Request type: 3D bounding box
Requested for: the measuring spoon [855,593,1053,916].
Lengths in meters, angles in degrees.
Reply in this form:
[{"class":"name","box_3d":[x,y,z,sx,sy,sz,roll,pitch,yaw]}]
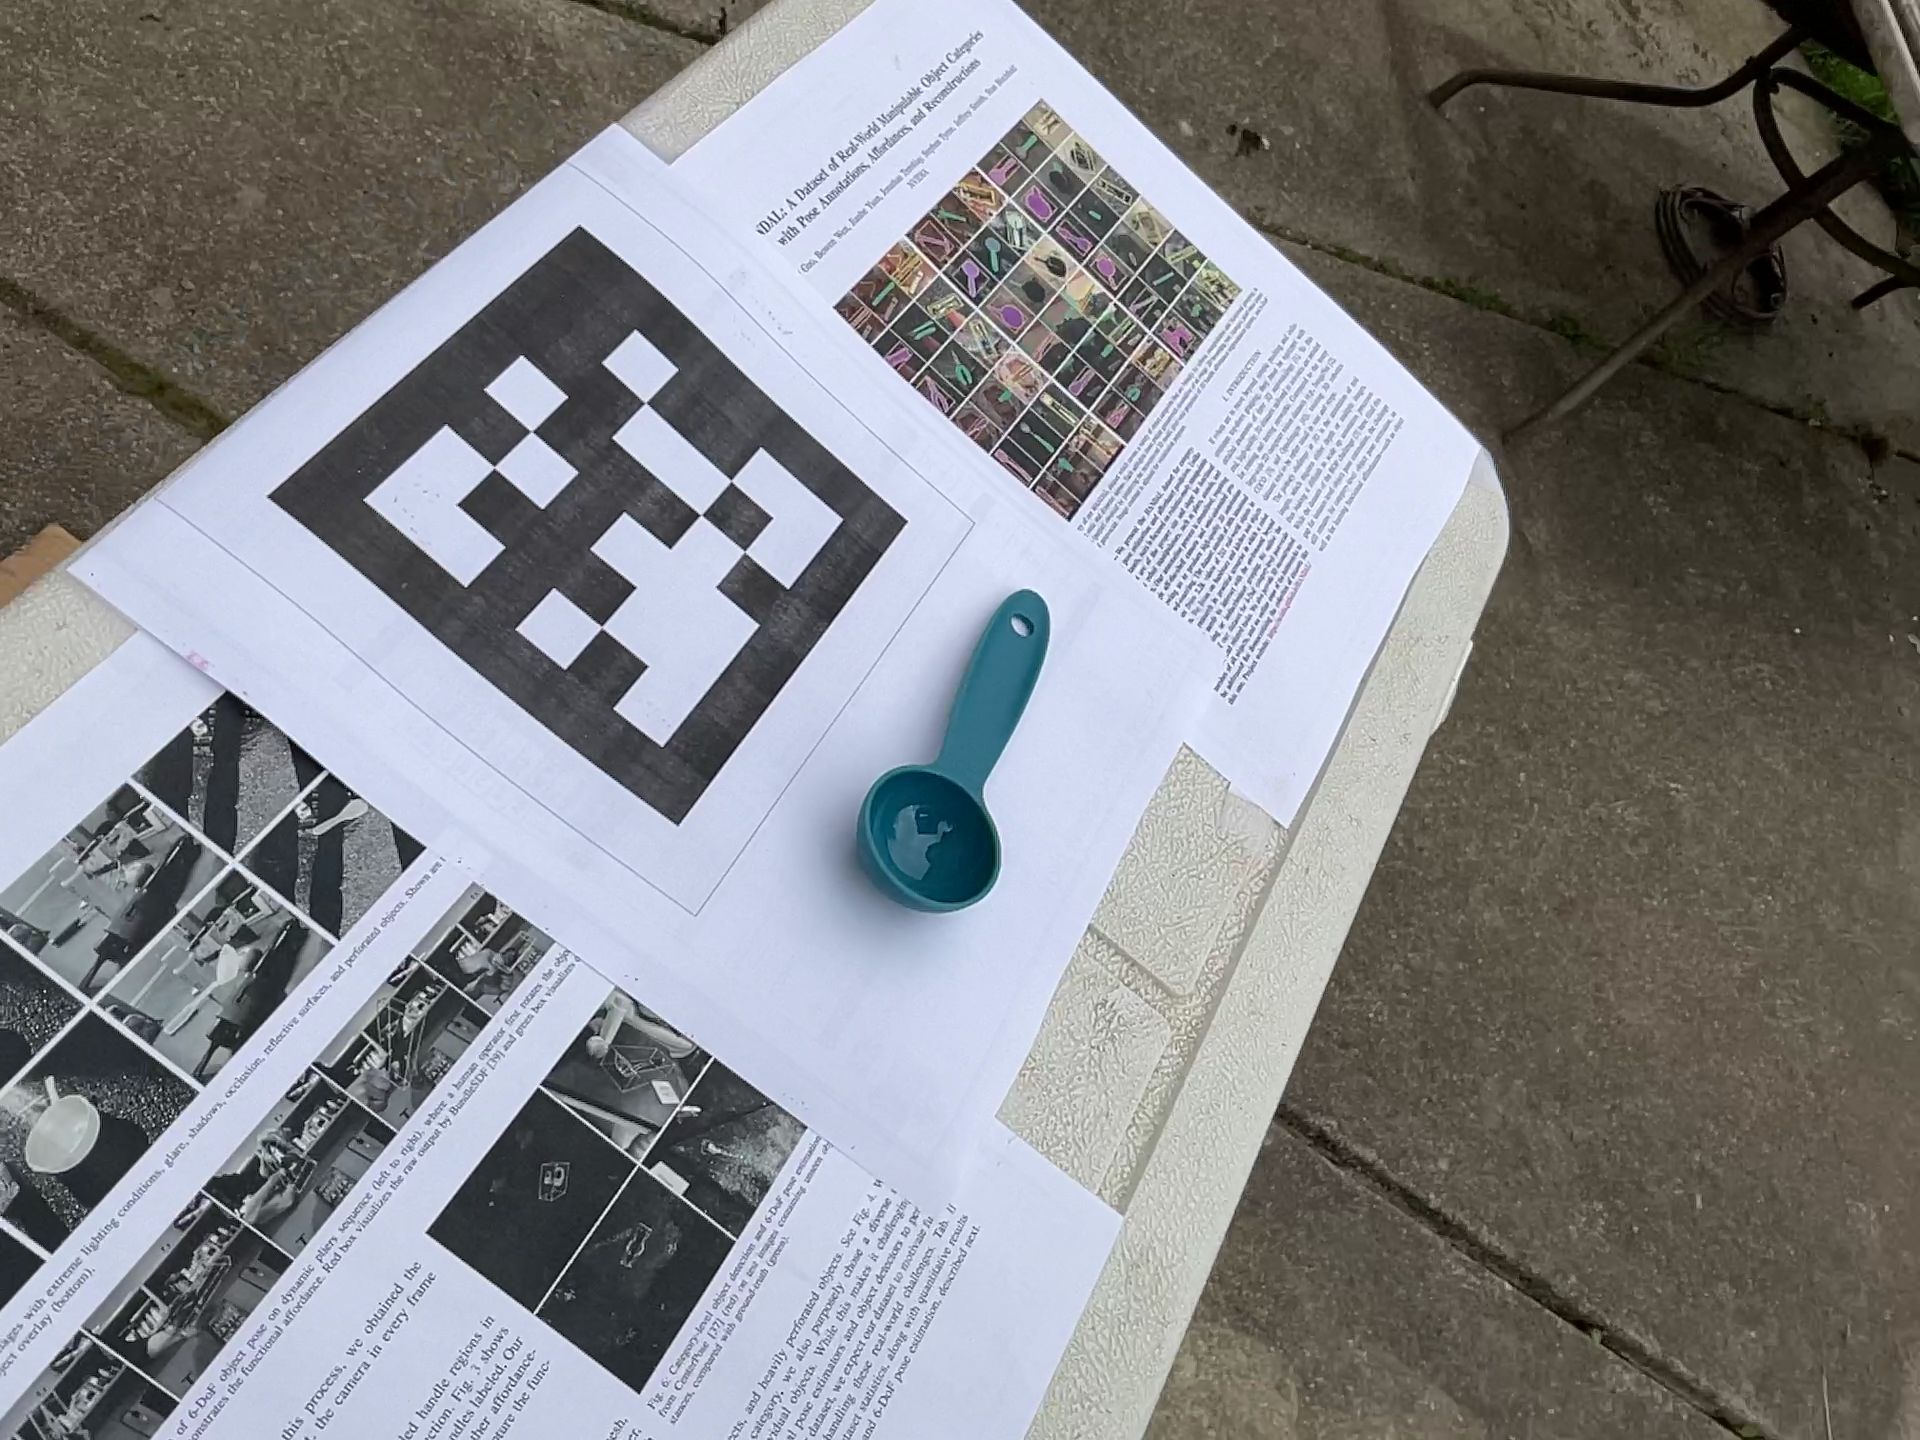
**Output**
[{"class":"measuring spoon","box_3d":[0.001,0.008,0.463,0.042,0.021,0.129,36,45,-11]}]
